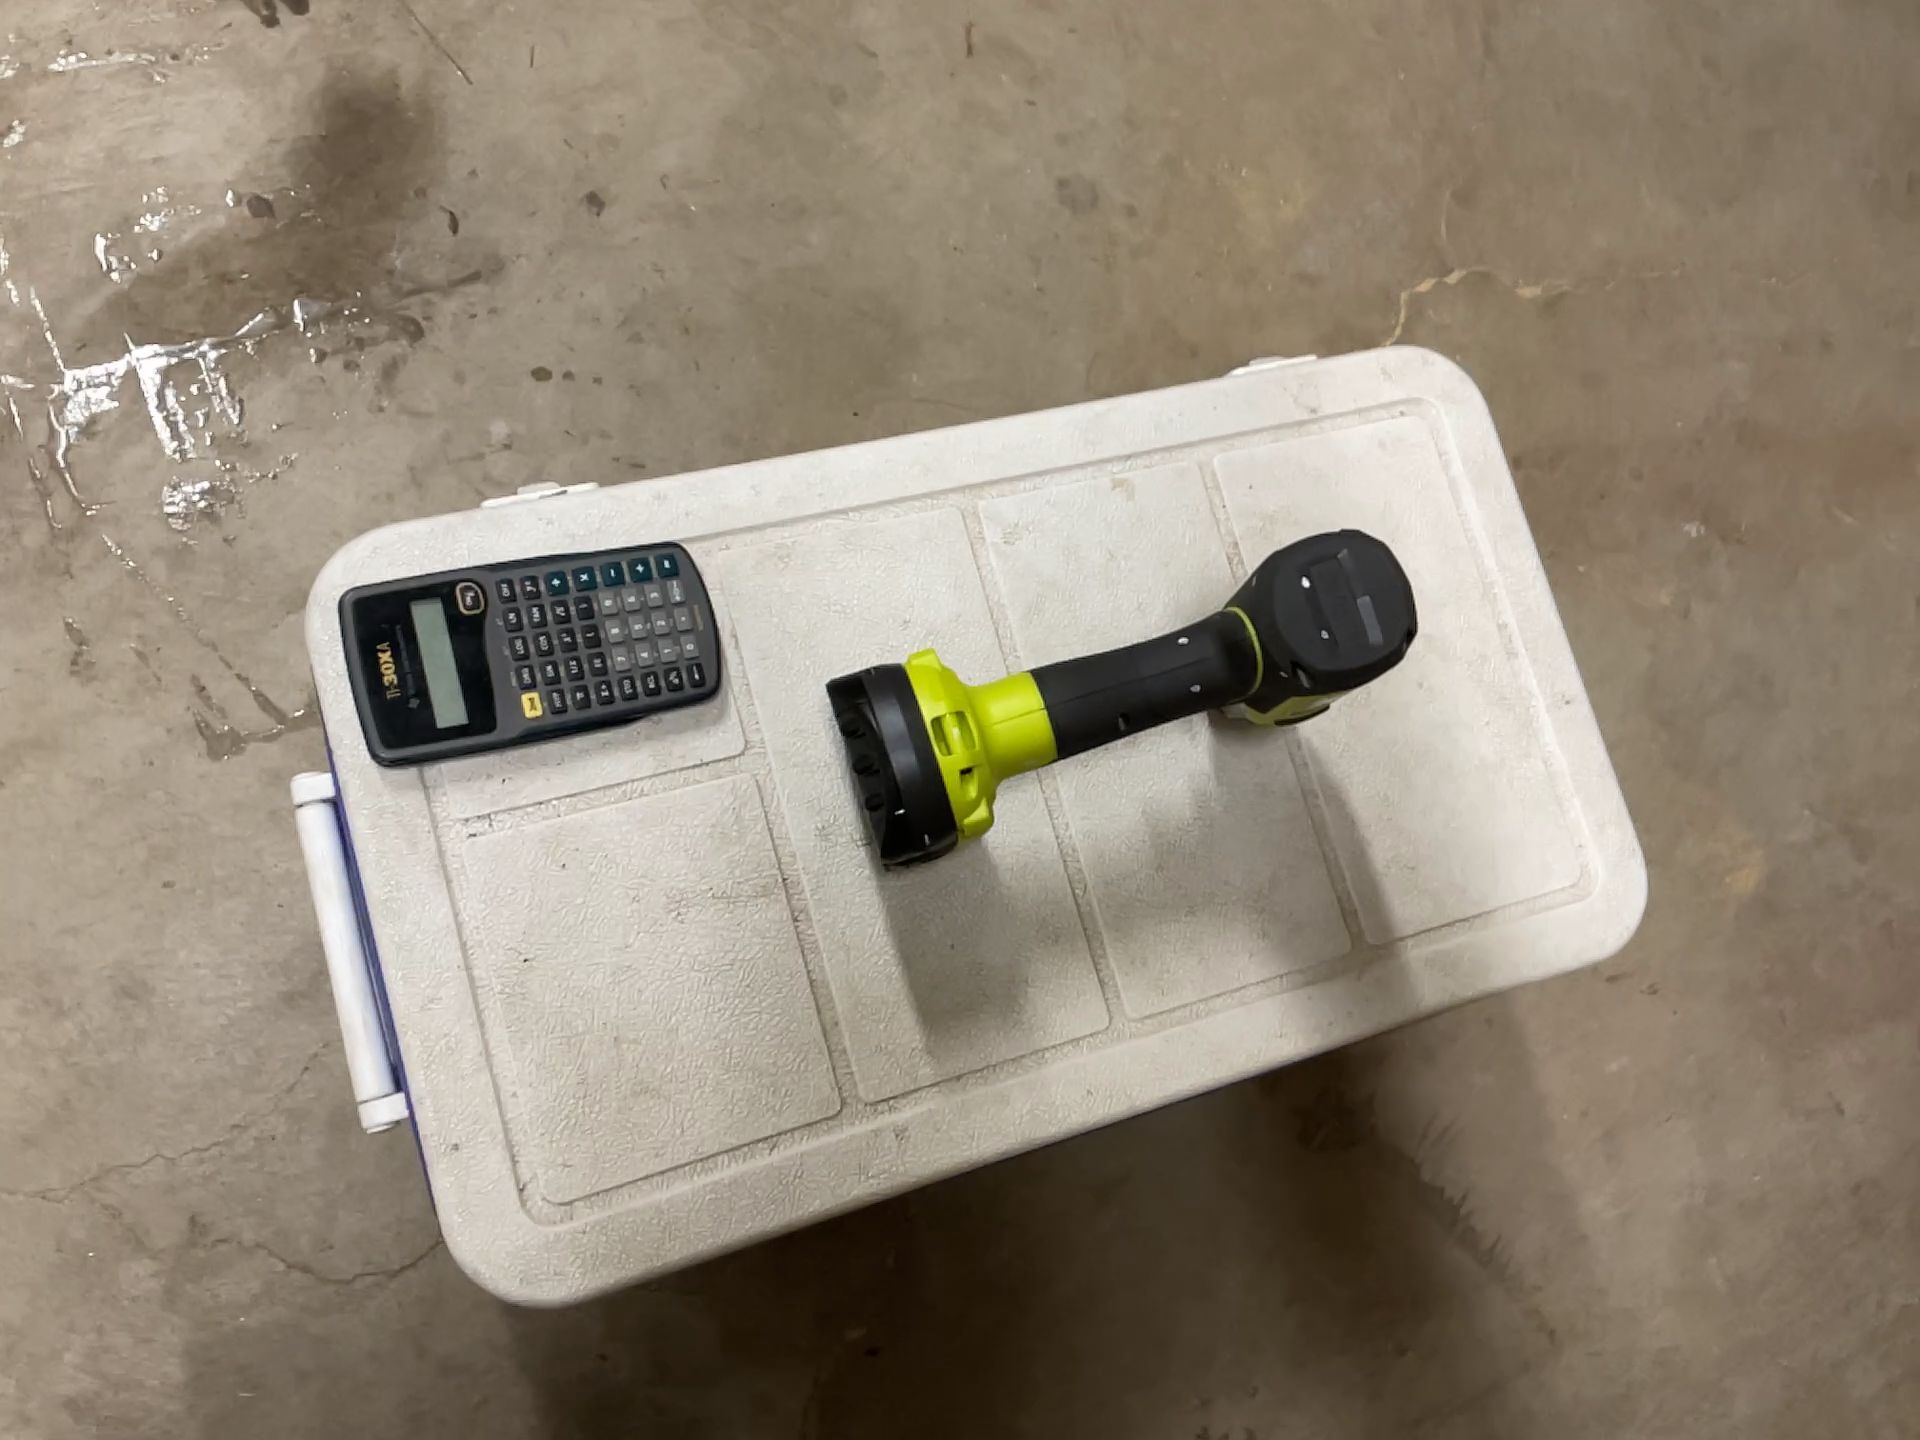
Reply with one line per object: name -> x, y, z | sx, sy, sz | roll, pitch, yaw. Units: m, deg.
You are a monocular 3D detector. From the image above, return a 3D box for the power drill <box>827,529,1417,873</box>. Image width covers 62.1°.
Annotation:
power drill -> 0.066, -0.006, 0.691 | 0.228, 0.190, 0.080 | -18, 83, -4
